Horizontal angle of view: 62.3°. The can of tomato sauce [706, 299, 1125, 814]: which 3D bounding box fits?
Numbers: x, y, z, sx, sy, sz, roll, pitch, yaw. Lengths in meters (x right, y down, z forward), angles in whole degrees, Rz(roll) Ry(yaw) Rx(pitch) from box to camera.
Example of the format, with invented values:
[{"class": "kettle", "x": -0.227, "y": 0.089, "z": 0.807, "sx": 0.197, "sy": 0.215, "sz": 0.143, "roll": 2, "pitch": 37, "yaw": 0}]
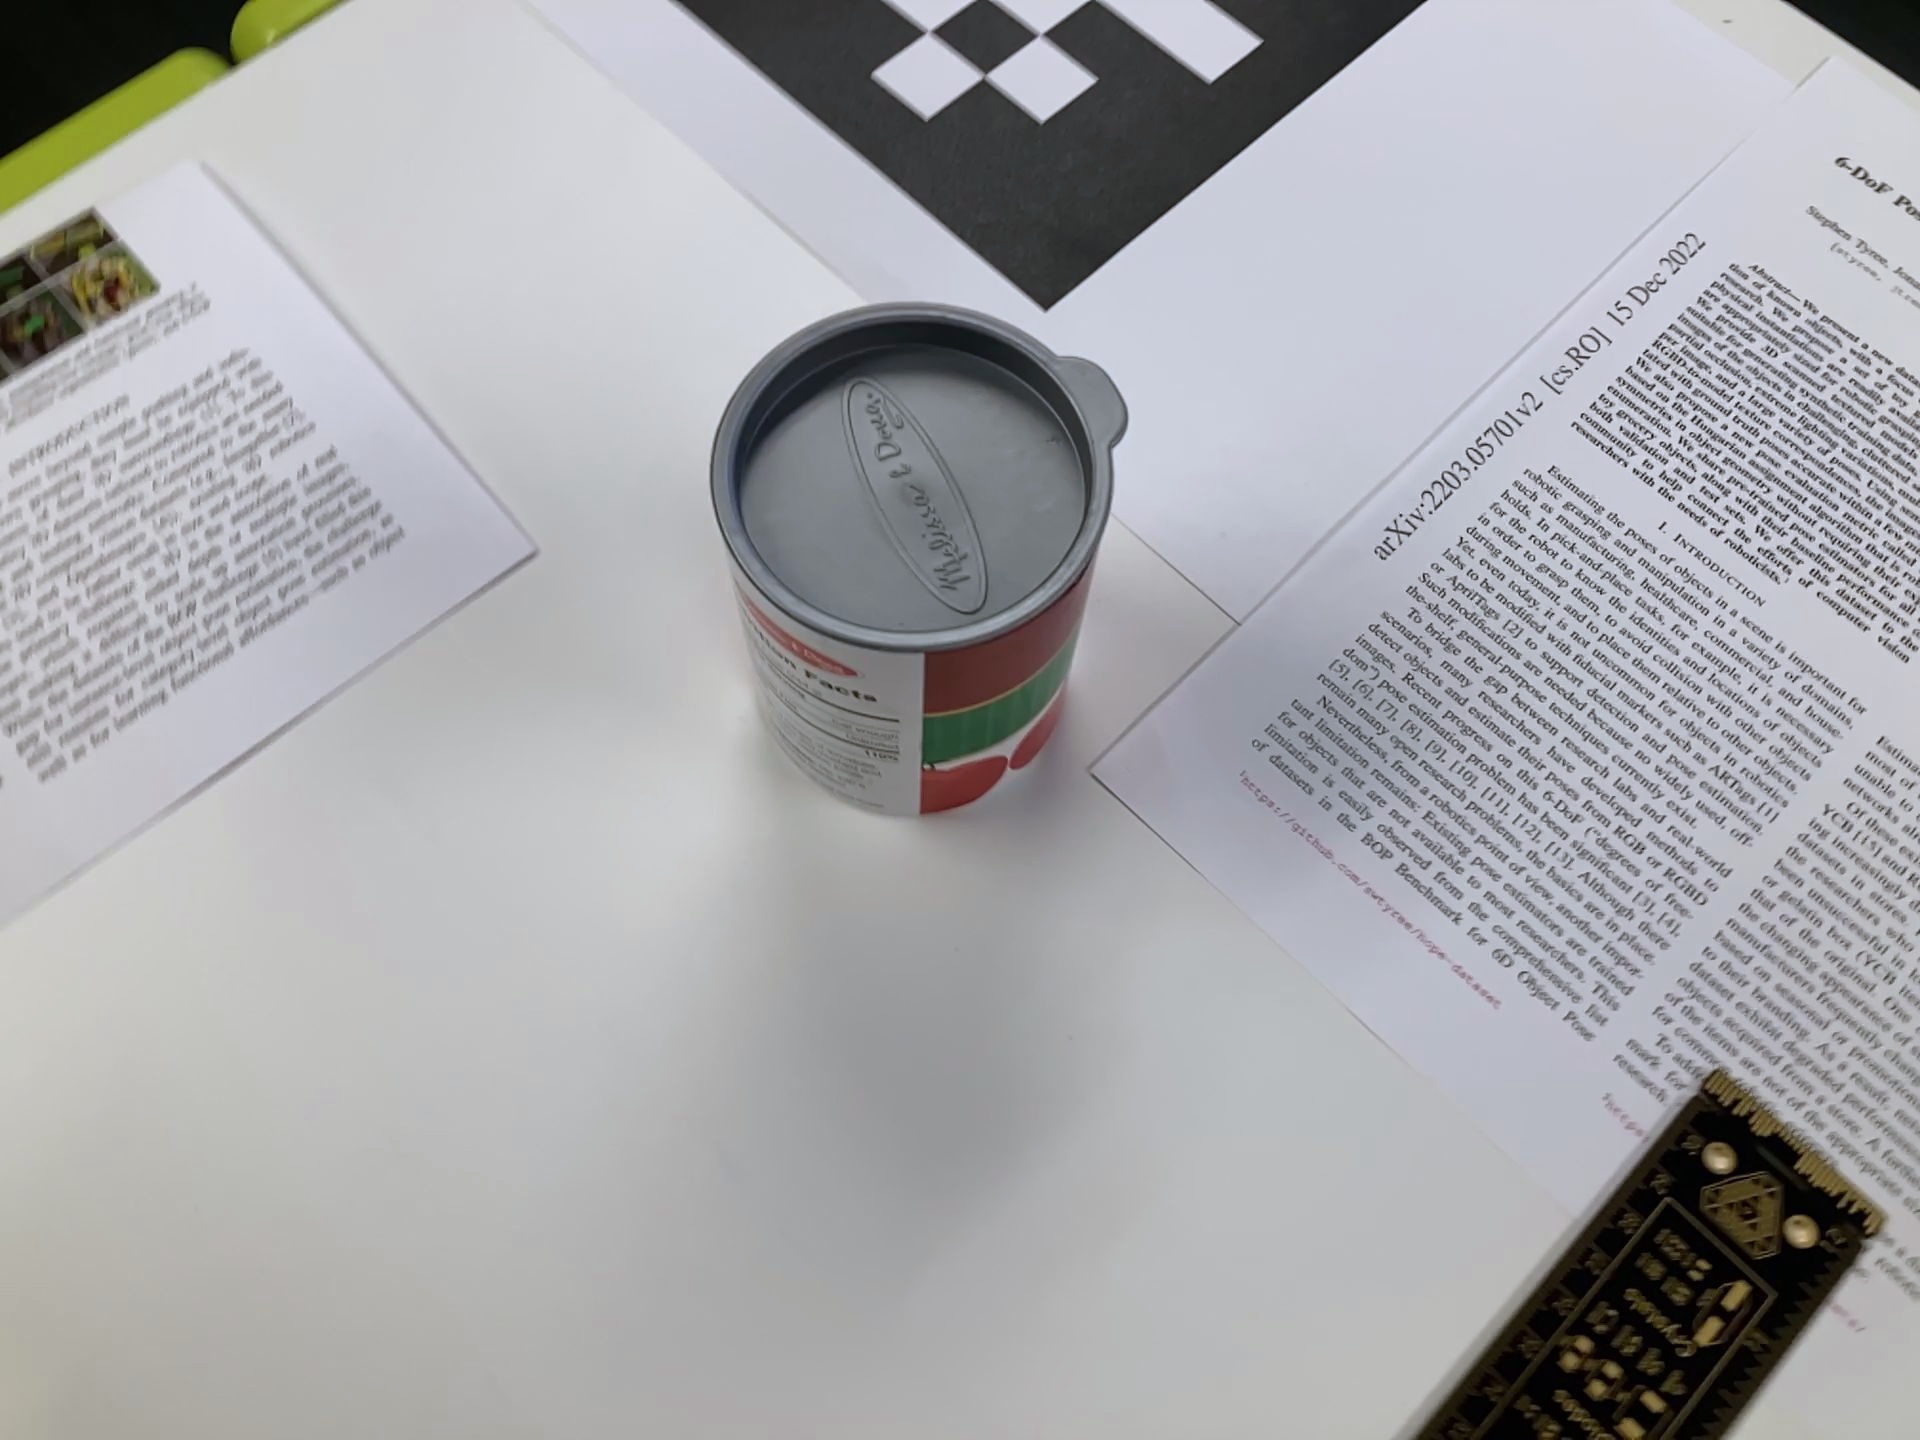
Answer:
[{"class": "can of tomato sauce", "x": -0.008, "y": -0.027, "z": 0.298, "sx": 0.071, "sy": 0.083, "sz": 0.071, "roll": 1, "pitch": 68, "yaw": -2}]
